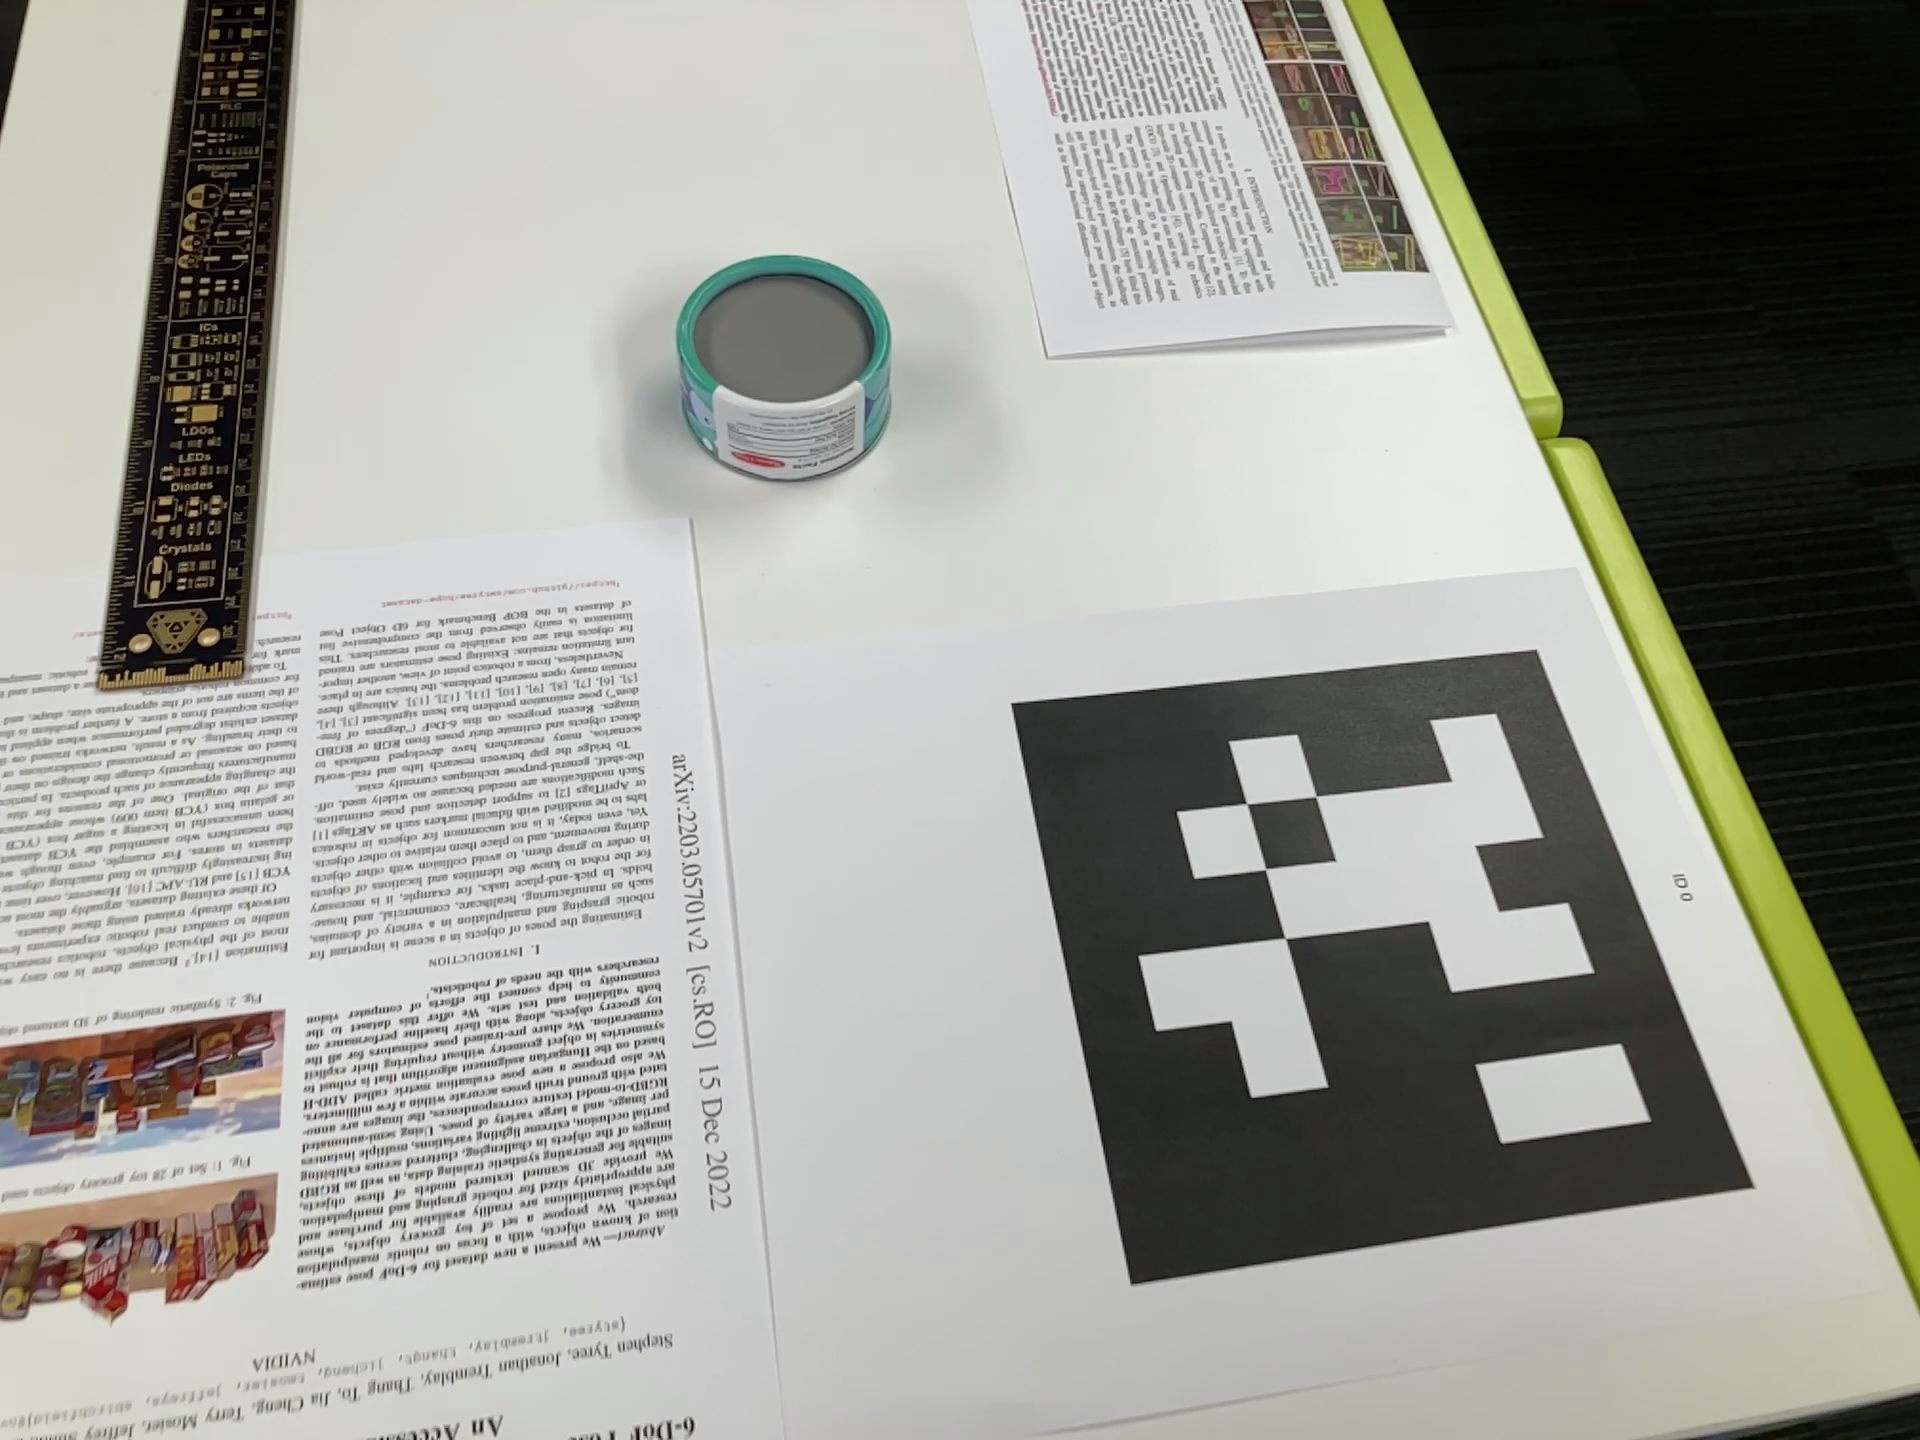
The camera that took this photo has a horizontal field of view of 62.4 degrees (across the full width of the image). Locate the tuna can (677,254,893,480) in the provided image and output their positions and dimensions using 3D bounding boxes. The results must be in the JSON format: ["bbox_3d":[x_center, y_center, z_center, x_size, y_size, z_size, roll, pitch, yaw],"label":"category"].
[{"bbox_3d":[-0.054,-0.113,0.495,0.071,0.033,0.071,3,59,-5],"label":"tuna can"}]
